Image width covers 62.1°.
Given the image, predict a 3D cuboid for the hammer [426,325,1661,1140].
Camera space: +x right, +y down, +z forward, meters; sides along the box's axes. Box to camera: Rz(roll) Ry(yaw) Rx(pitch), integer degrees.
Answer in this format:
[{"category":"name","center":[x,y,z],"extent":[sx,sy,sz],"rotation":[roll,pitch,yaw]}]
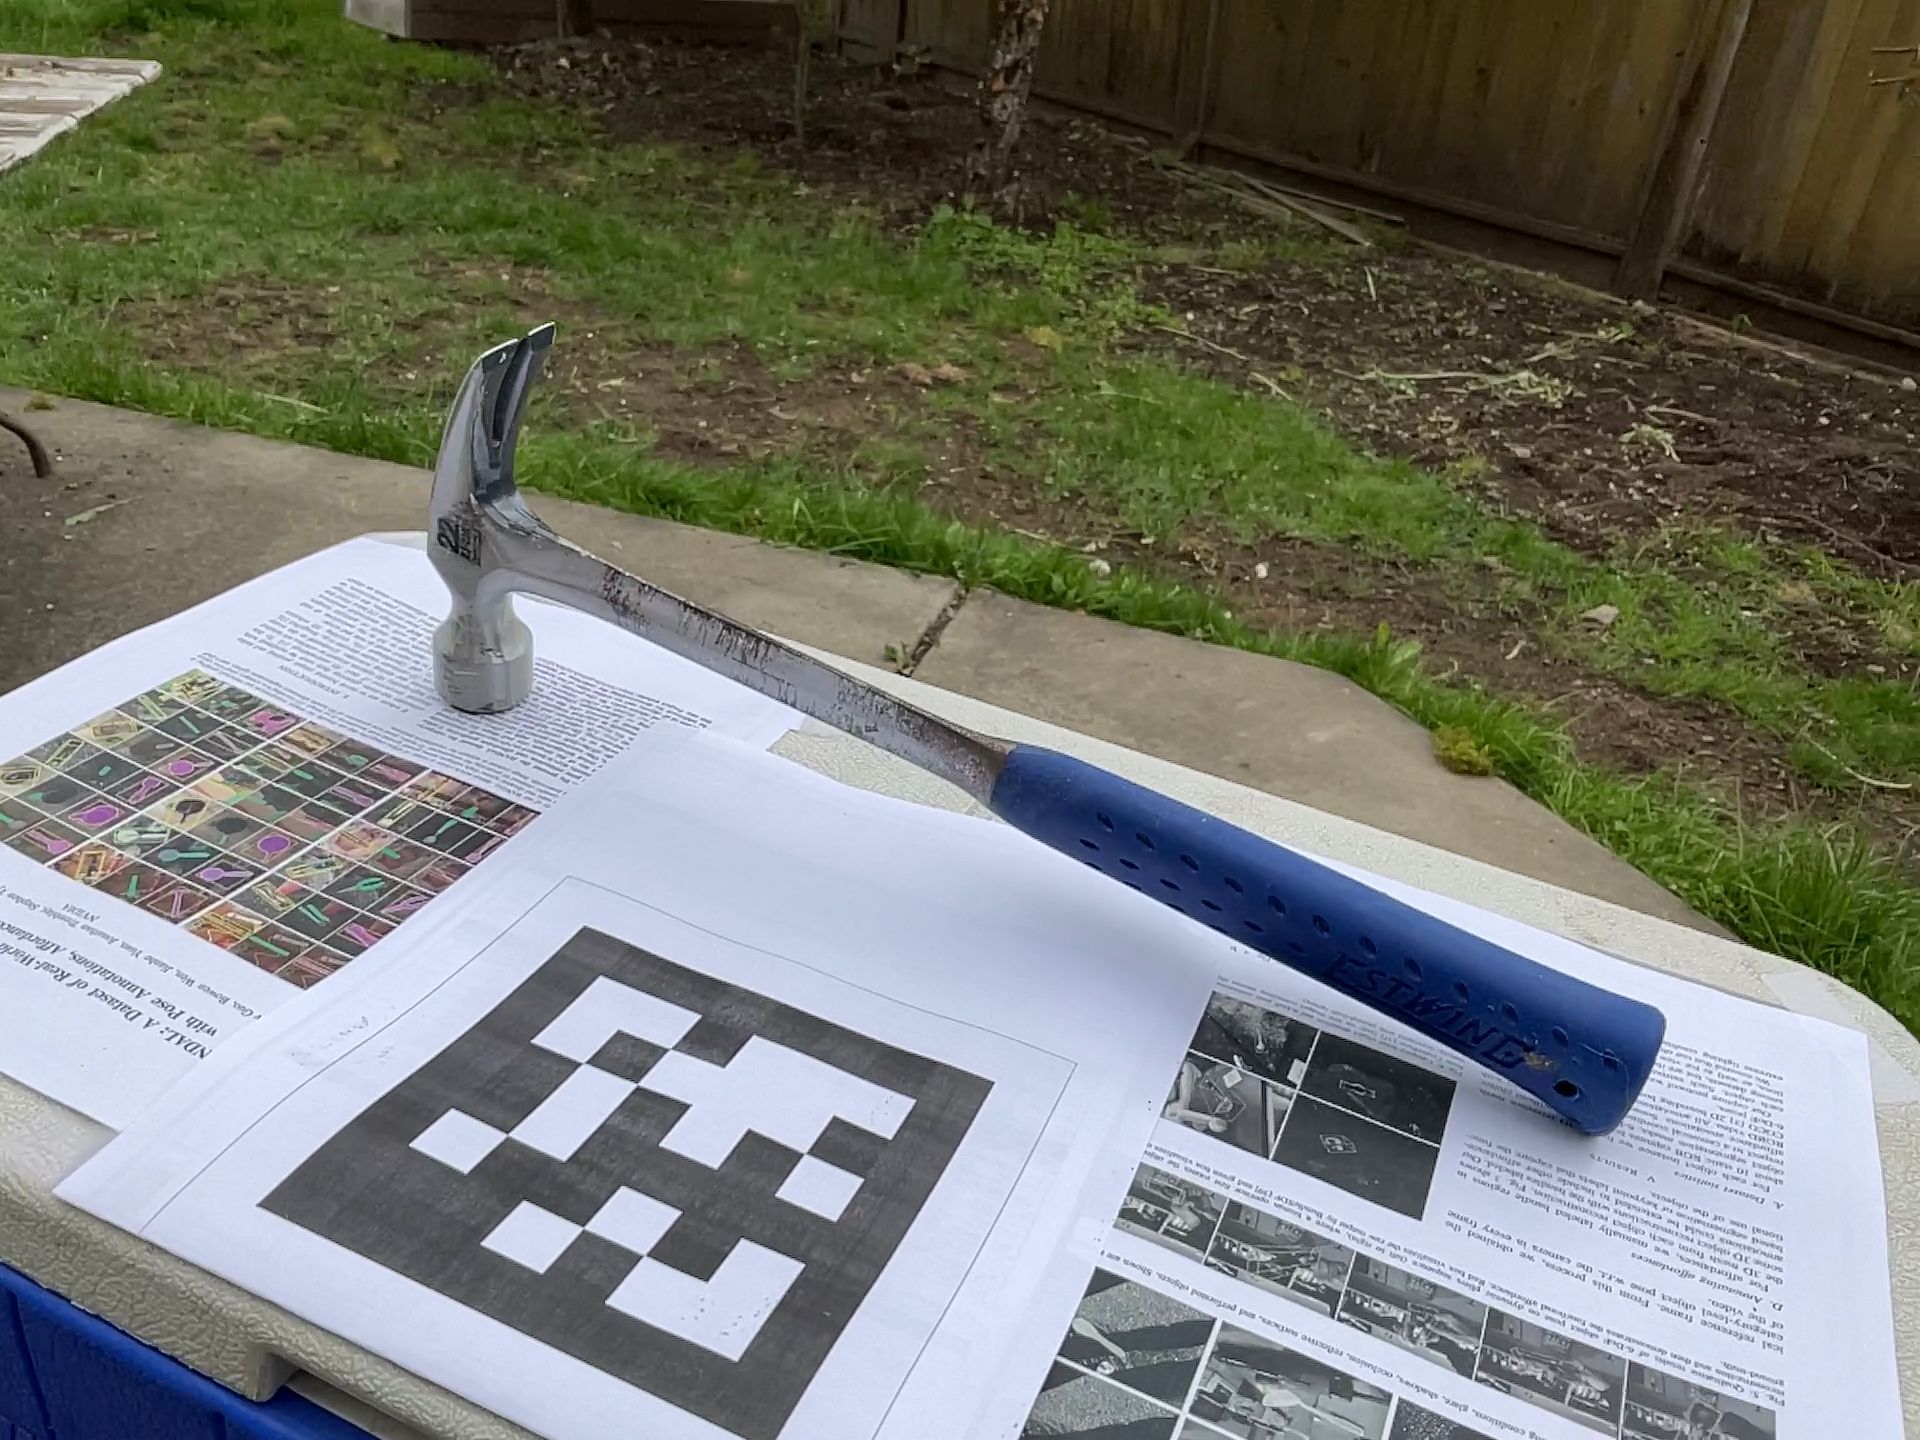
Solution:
[{"category":"hammer","center":[0.005,0.010,0.480],"extent":[0.405,0.144,0.035],"rotation":[25,39,15]}]
